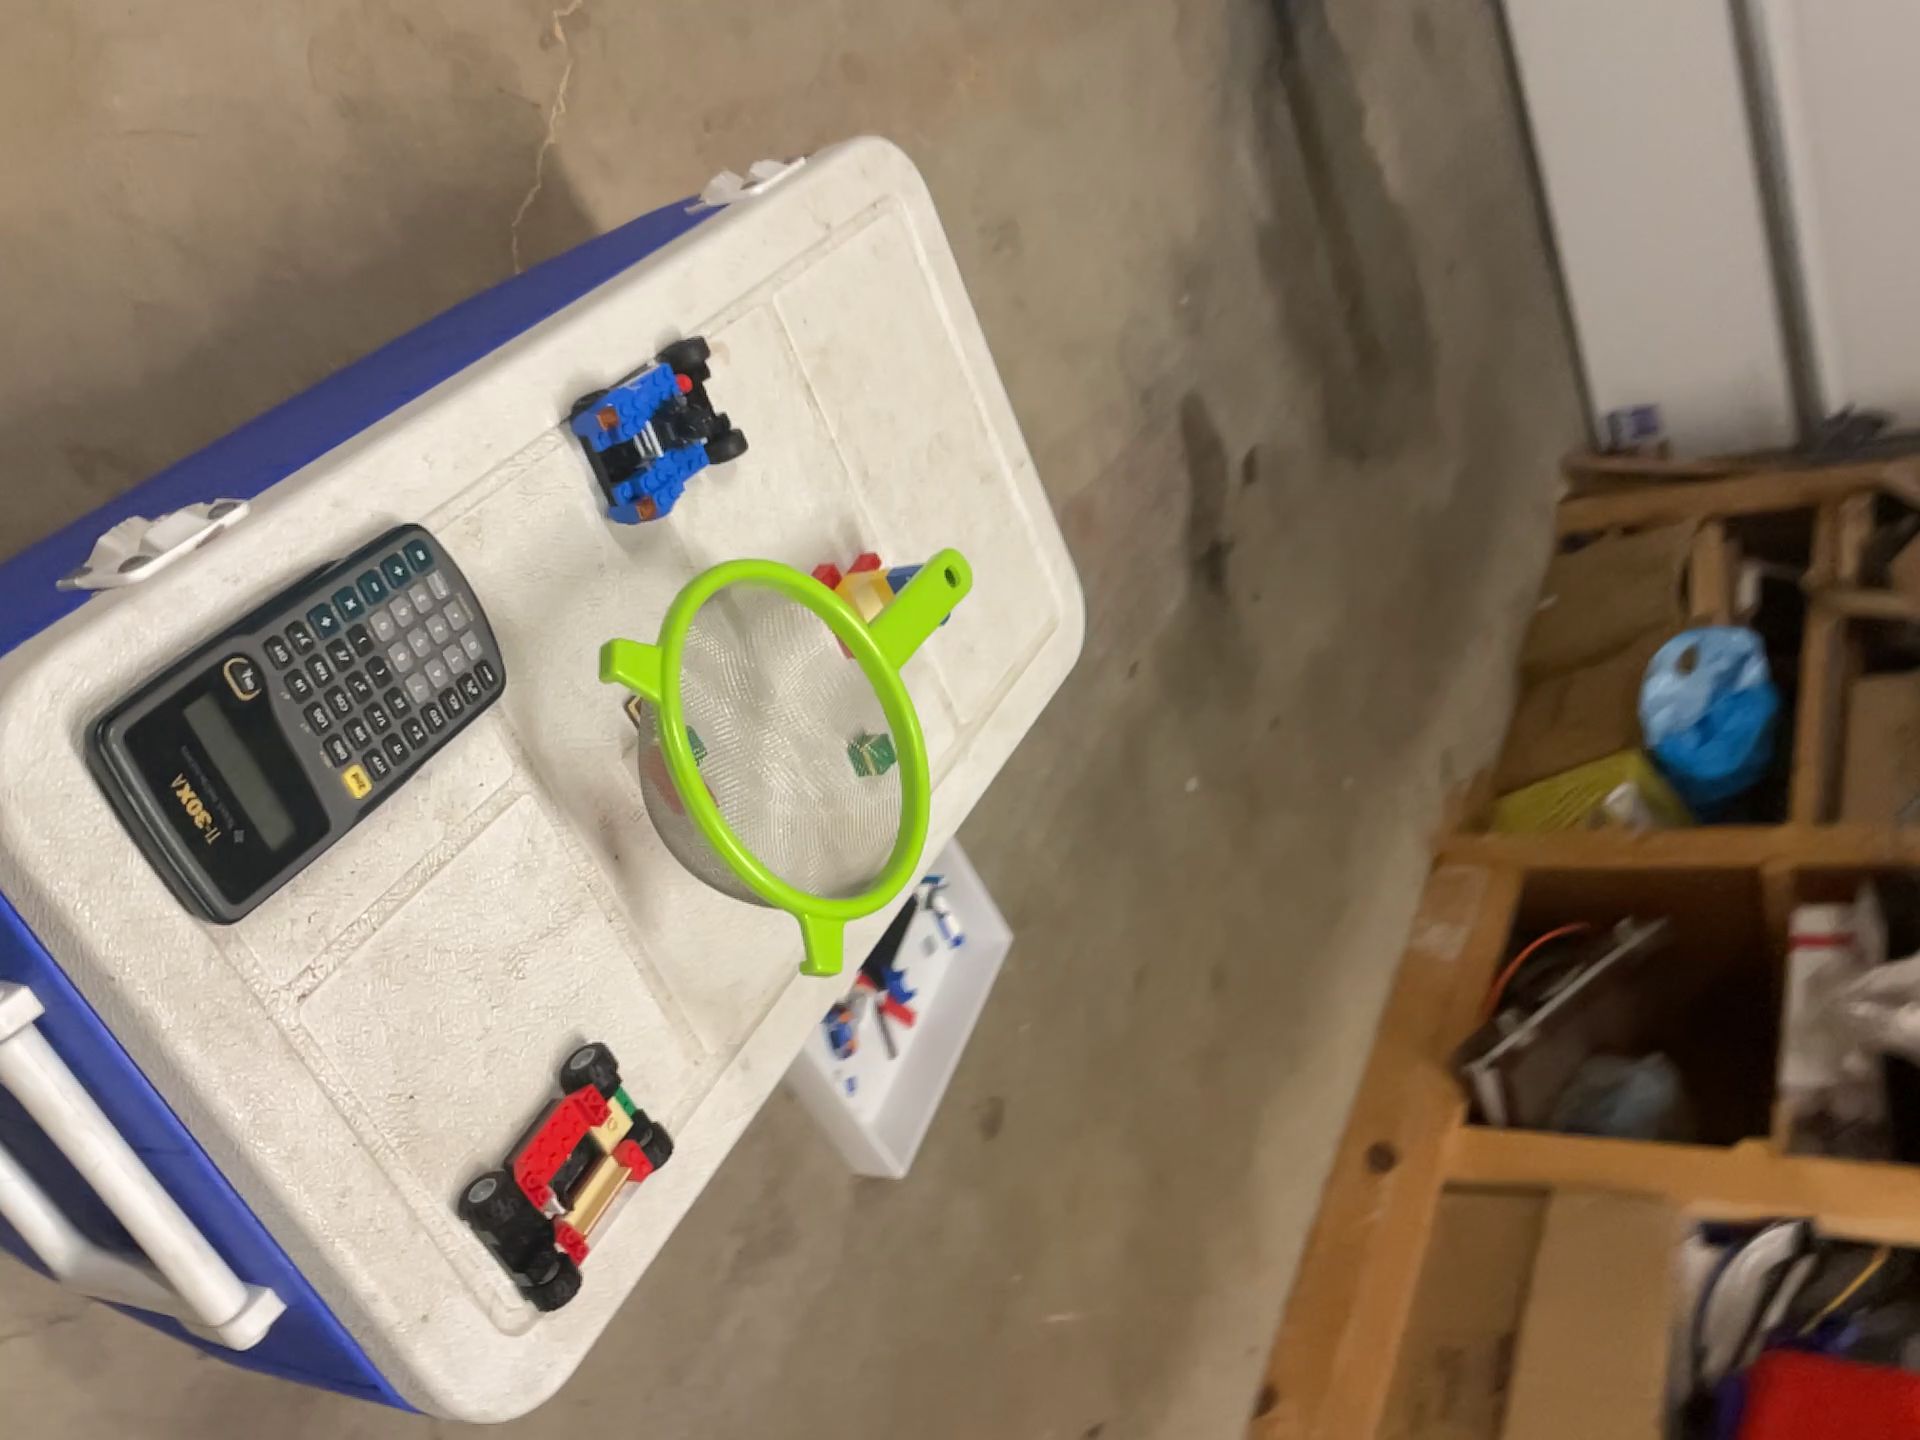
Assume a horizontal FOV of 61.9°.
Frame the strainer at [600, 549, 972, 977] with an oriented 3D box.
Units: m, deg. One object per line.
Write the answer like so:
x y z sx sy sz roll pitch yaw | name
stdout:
-0.065 -0.009 0.693 0.151 0.069 0.257 58 33 -14 | strainer
